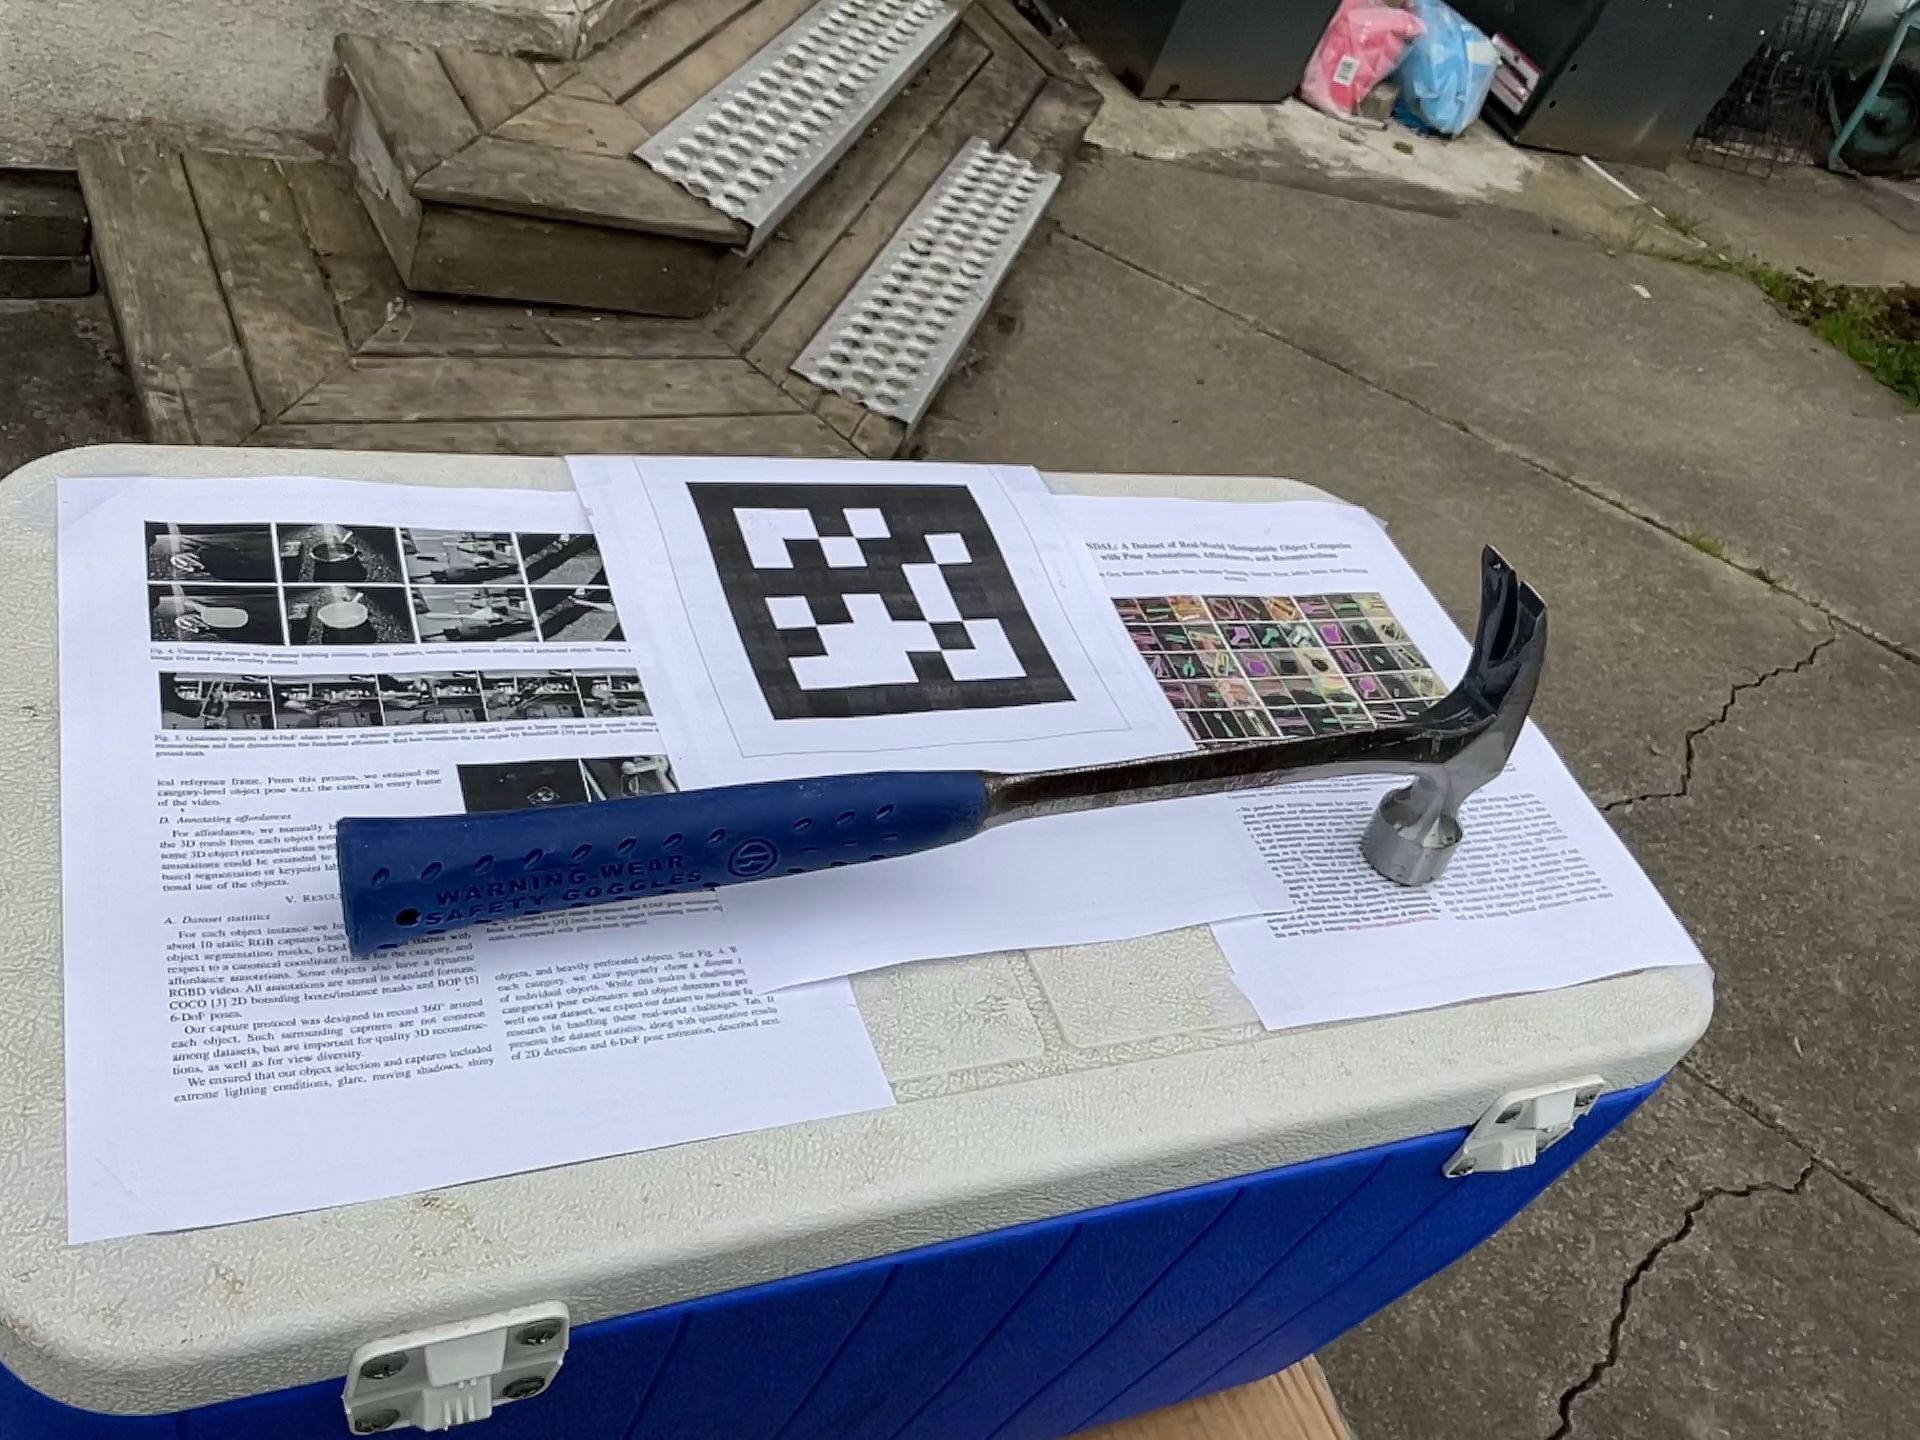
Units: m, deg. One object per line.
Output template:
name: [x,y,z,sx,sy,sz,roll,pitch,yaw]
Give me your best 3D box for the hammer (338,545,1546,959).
hammer: [0.015,0.022,0.519,0.405,0.144,0.035,-6,44,-22]
